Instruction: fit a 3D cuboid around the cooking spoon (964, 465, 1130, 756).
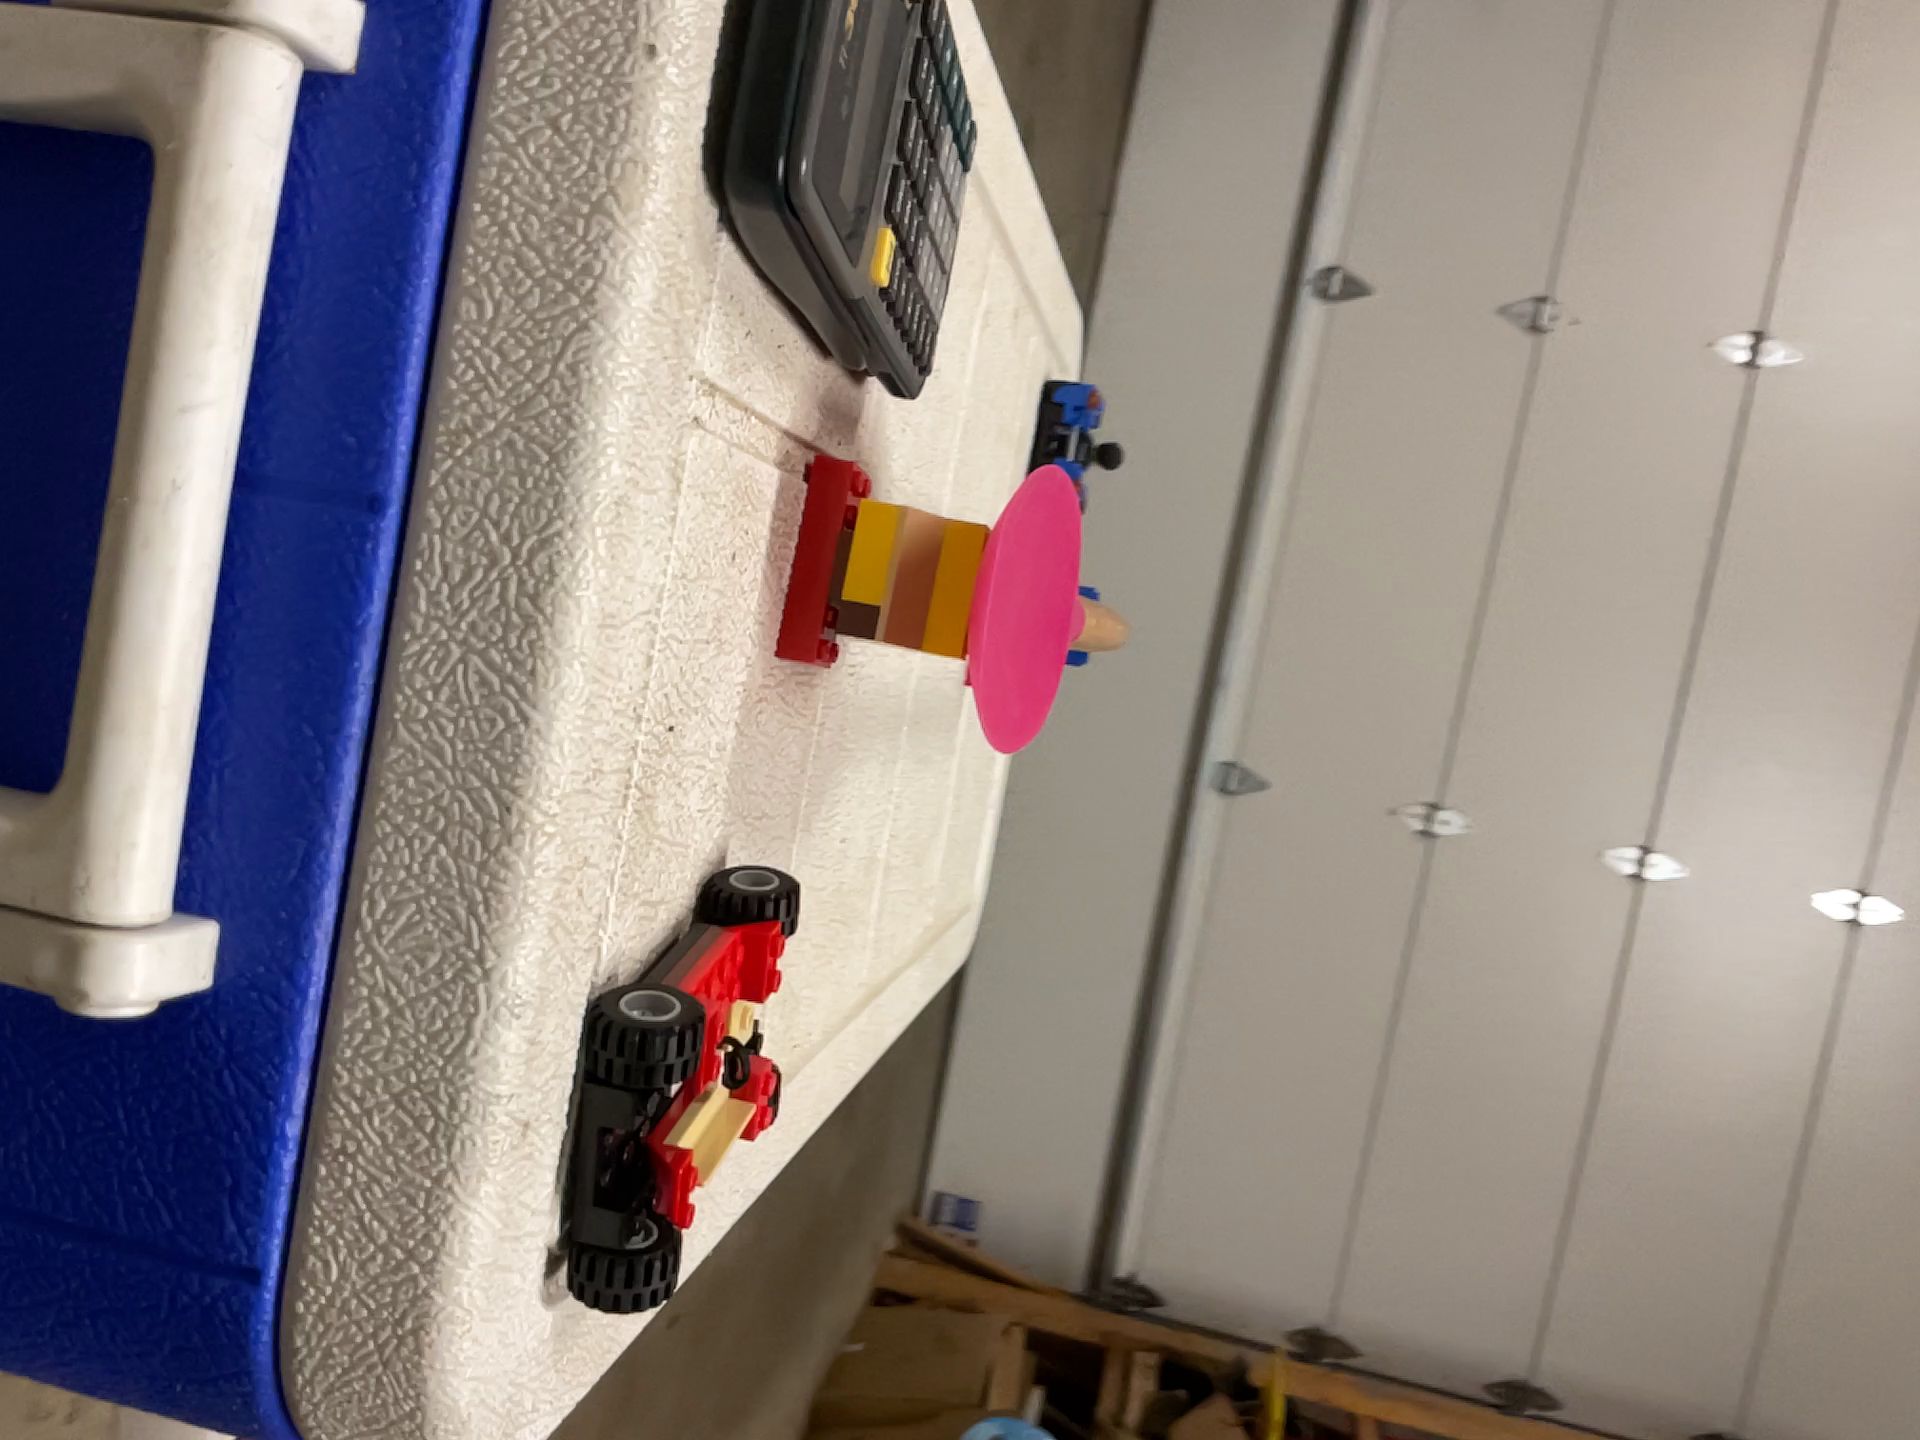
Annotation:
[{"bbox_3d":[0.032,-0.030,0.485,0.319,0.017,0.068,-9,109,-79],"label":"cooking spoon"}]
